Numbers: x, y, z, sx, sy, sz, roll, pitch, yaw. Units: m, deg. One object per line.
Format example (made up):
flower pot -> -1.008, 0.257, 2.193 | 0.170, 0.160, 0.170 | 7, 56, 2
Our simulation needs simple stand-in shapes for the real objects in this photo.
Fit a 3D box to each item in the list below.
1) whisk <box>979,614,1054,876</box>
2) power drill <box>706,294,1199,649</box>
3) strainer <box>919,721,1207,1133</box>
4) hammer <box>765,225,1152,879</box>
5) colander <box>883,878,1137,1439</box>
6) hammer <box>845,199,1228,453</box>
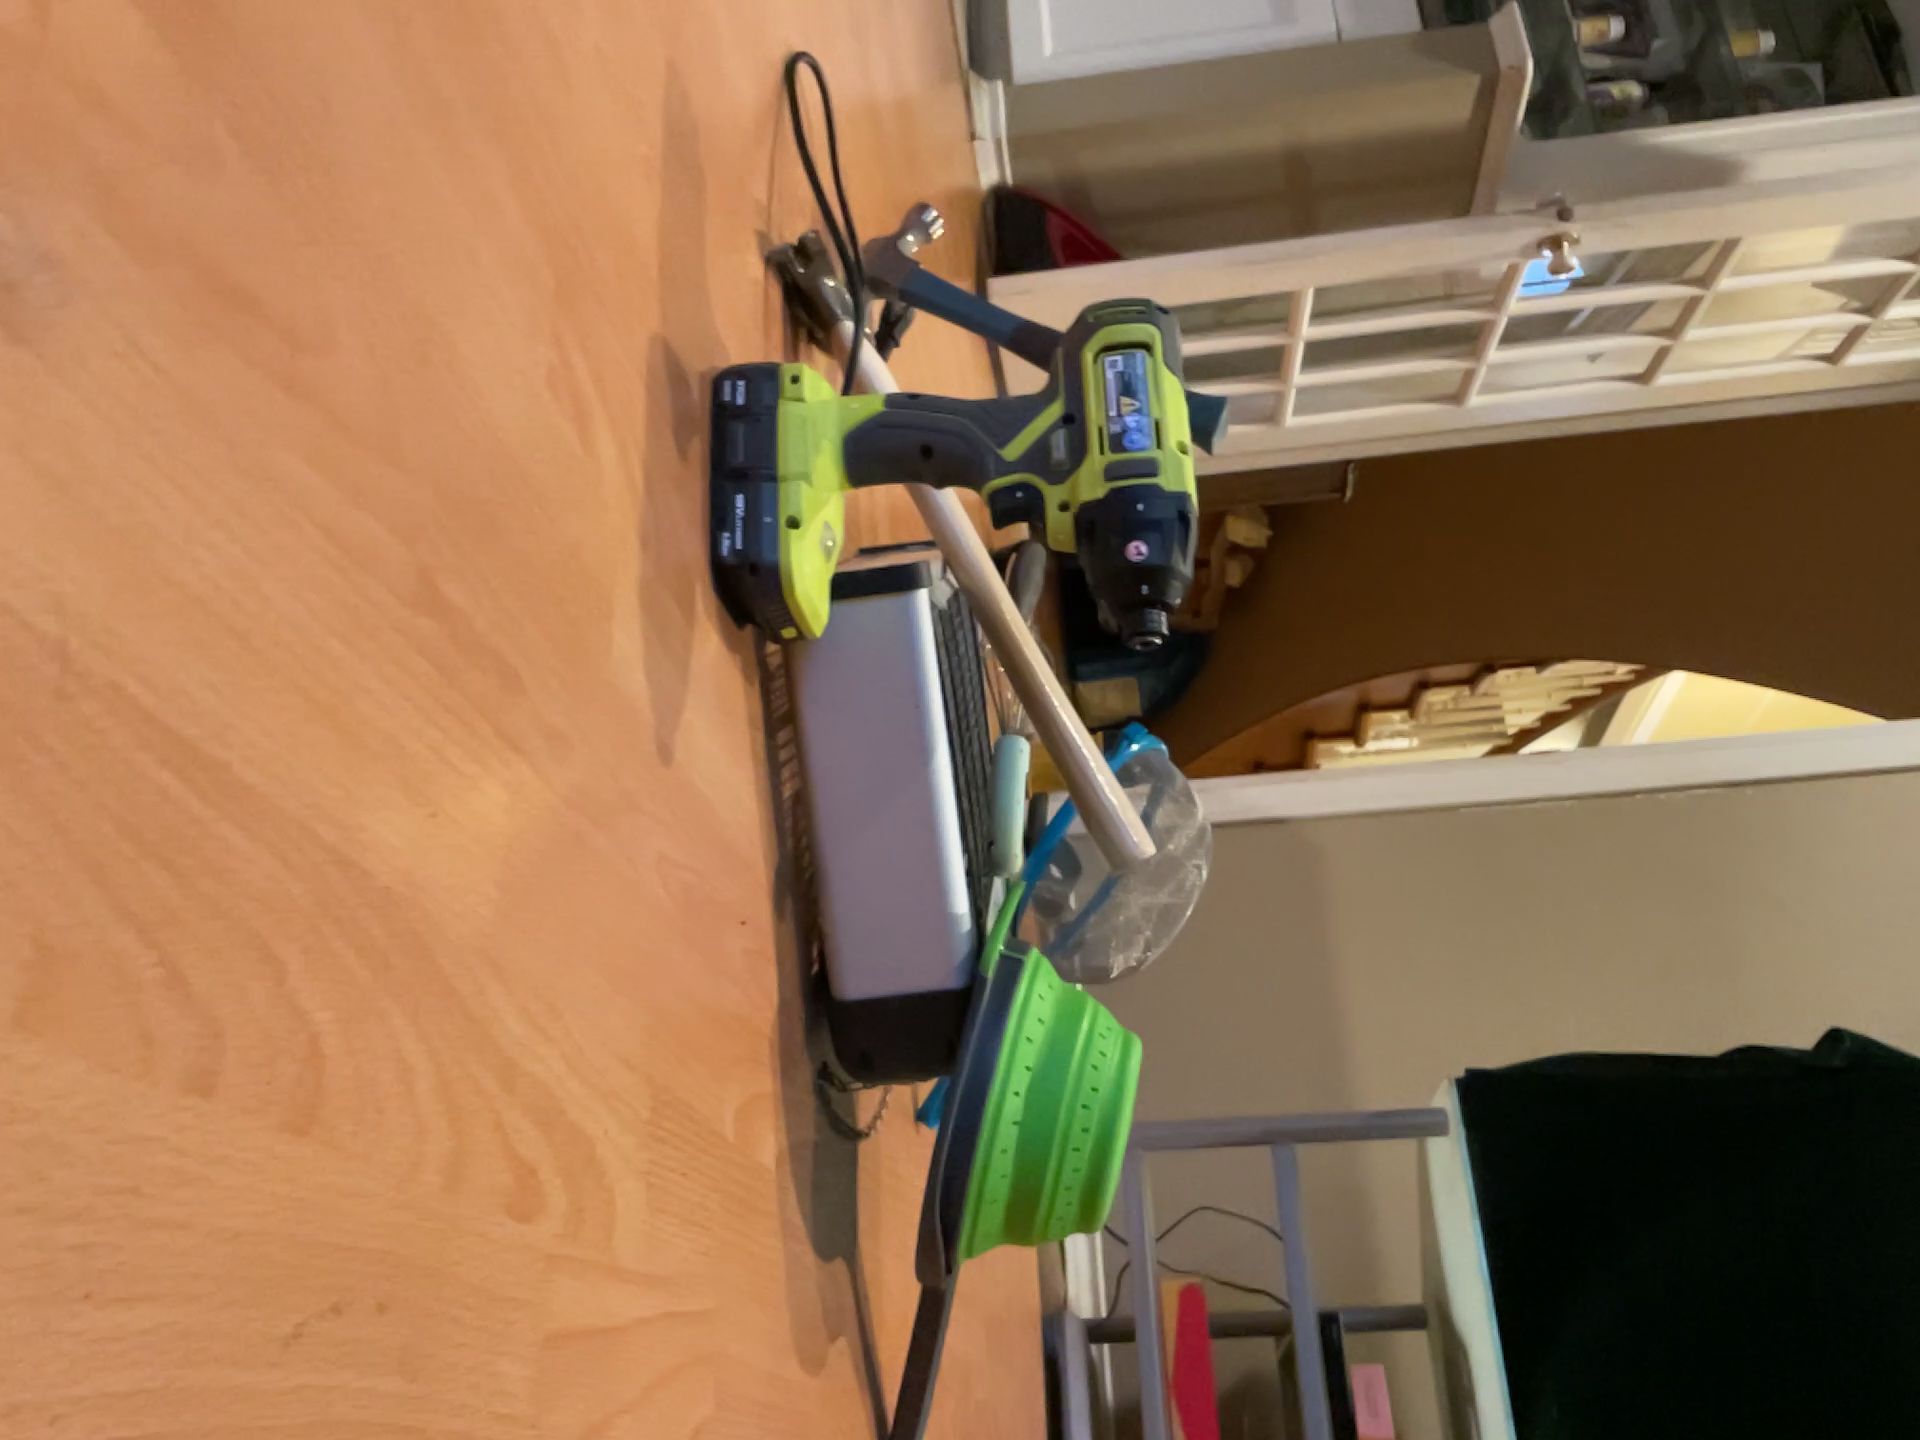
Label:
whisk -> 0.035, 0.012, 1.105 | 0.246, 0.059, 0.057 | -84, -162, -47
power drill -> -0.001, -0.107, 0.759 | 0.080, 0.223, 0.171 | 70, 17, -68
strainer -> 0.091, 0.176, 1.199 | 0.340, 0.095, 0.211 | -59, 157, -5
hammer -> 0.001, -0.096, 0.937 | 0.410, 0.038, 0.146 | 62, 2, 8
colander -> 0.028, 0.291, 0.910 | 0.205, 0.094, 0.396 | -58, 160, -69
hammer -> 0.053, -0.277, 1.159 | 0.128, 0.331, 0.033 | -49, 153, -20
